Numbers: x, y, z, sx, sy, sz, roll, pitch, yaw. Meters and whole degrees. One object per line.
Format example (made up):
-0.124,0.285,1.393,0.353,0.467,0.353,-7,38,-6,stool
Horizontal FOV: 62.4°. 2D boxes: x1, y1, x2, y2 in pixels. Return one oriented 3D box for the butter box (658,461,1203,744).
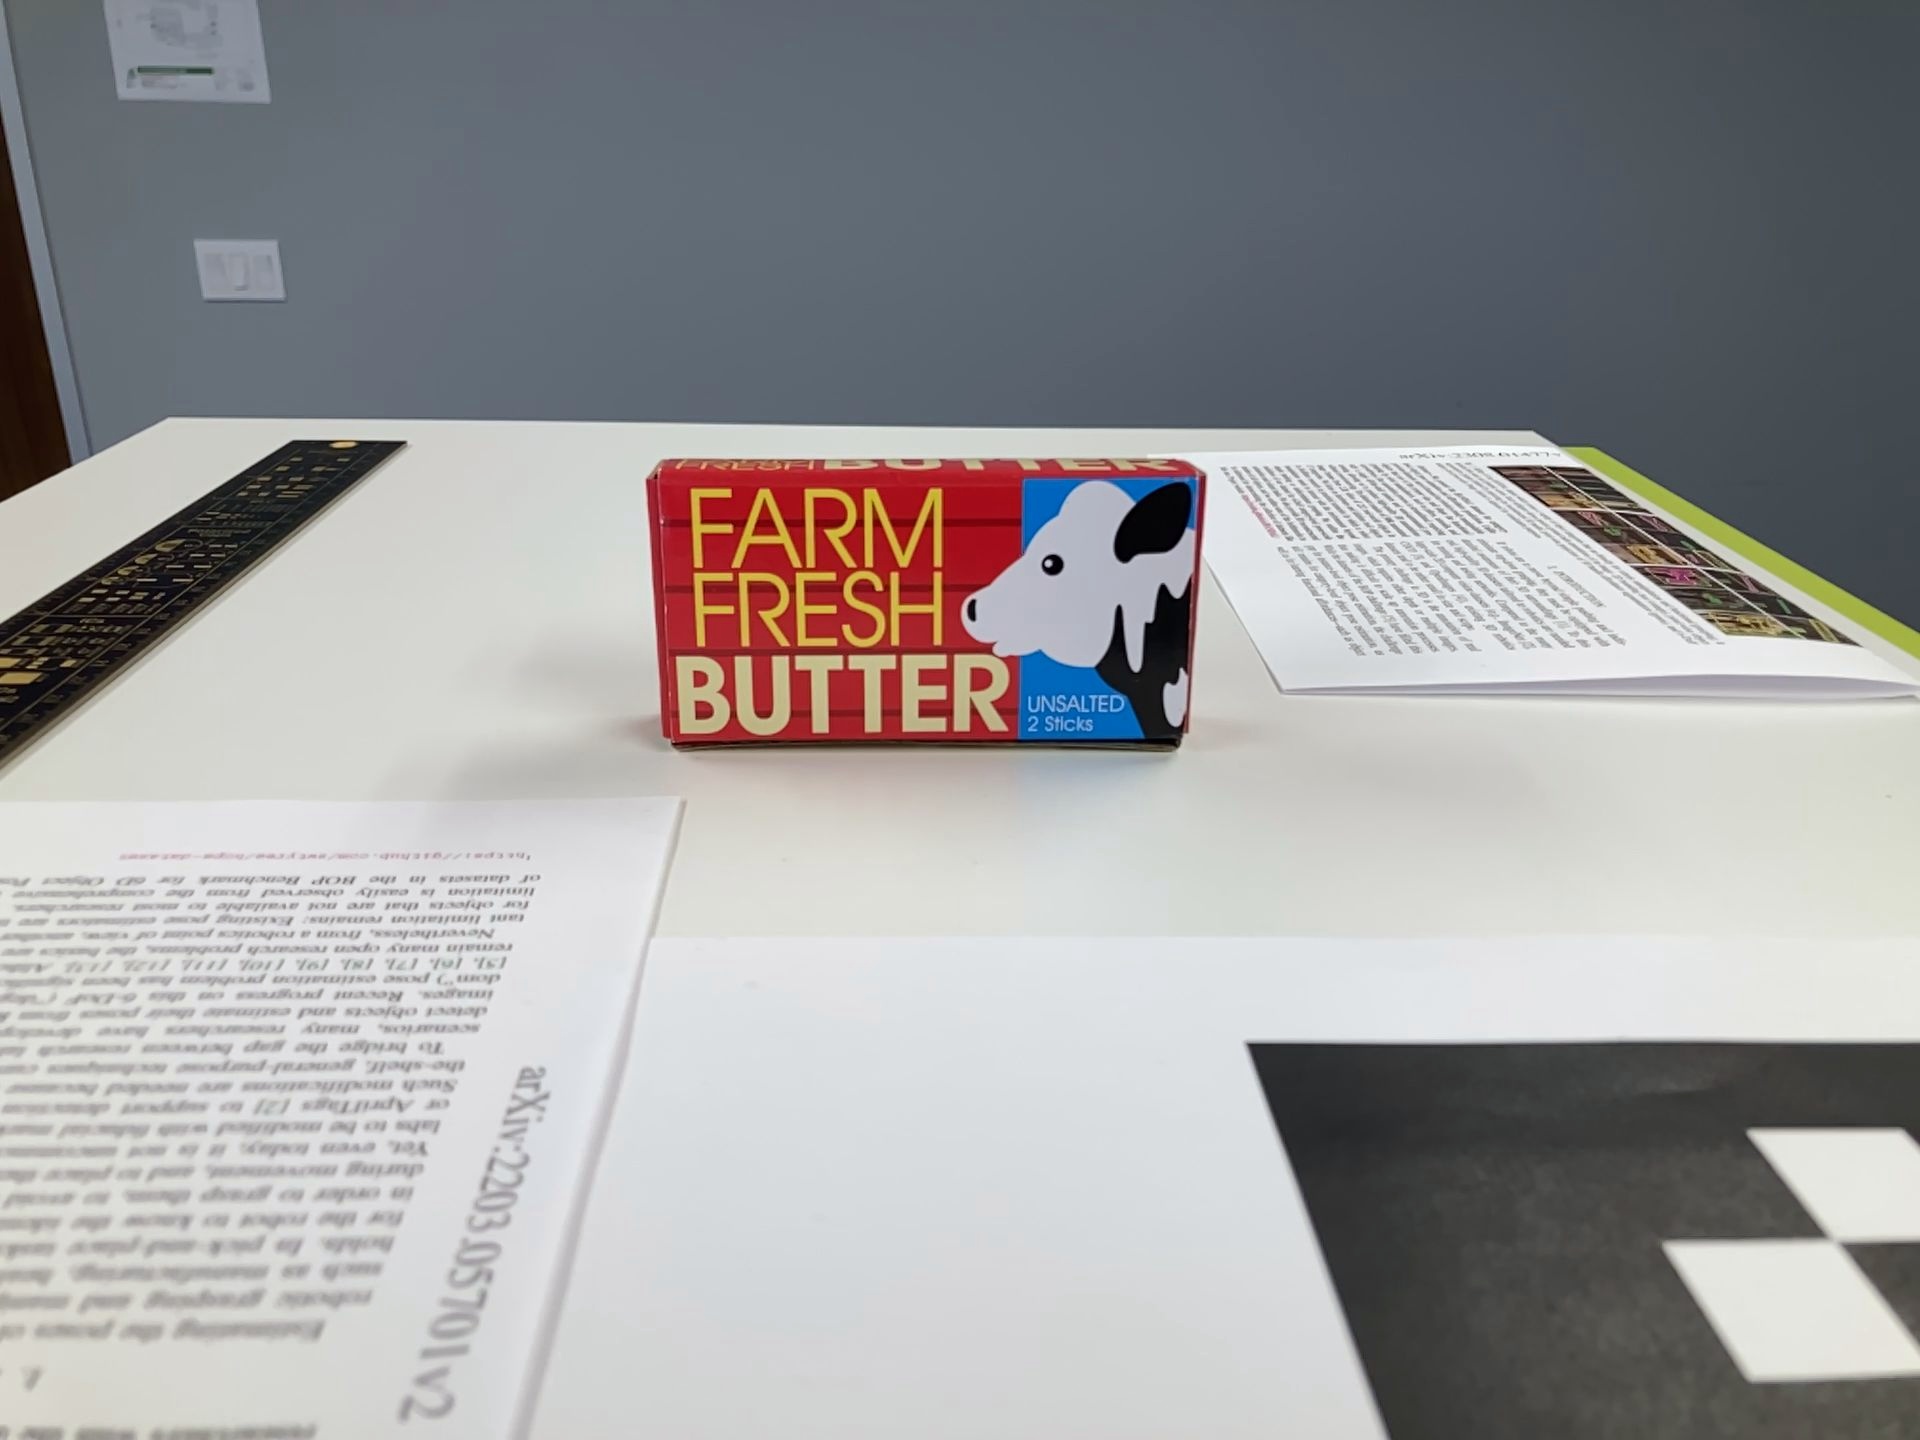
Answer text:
-0.006,-0.024,0.311,0.103,0.053,0.024,0,17,-3,butter box
